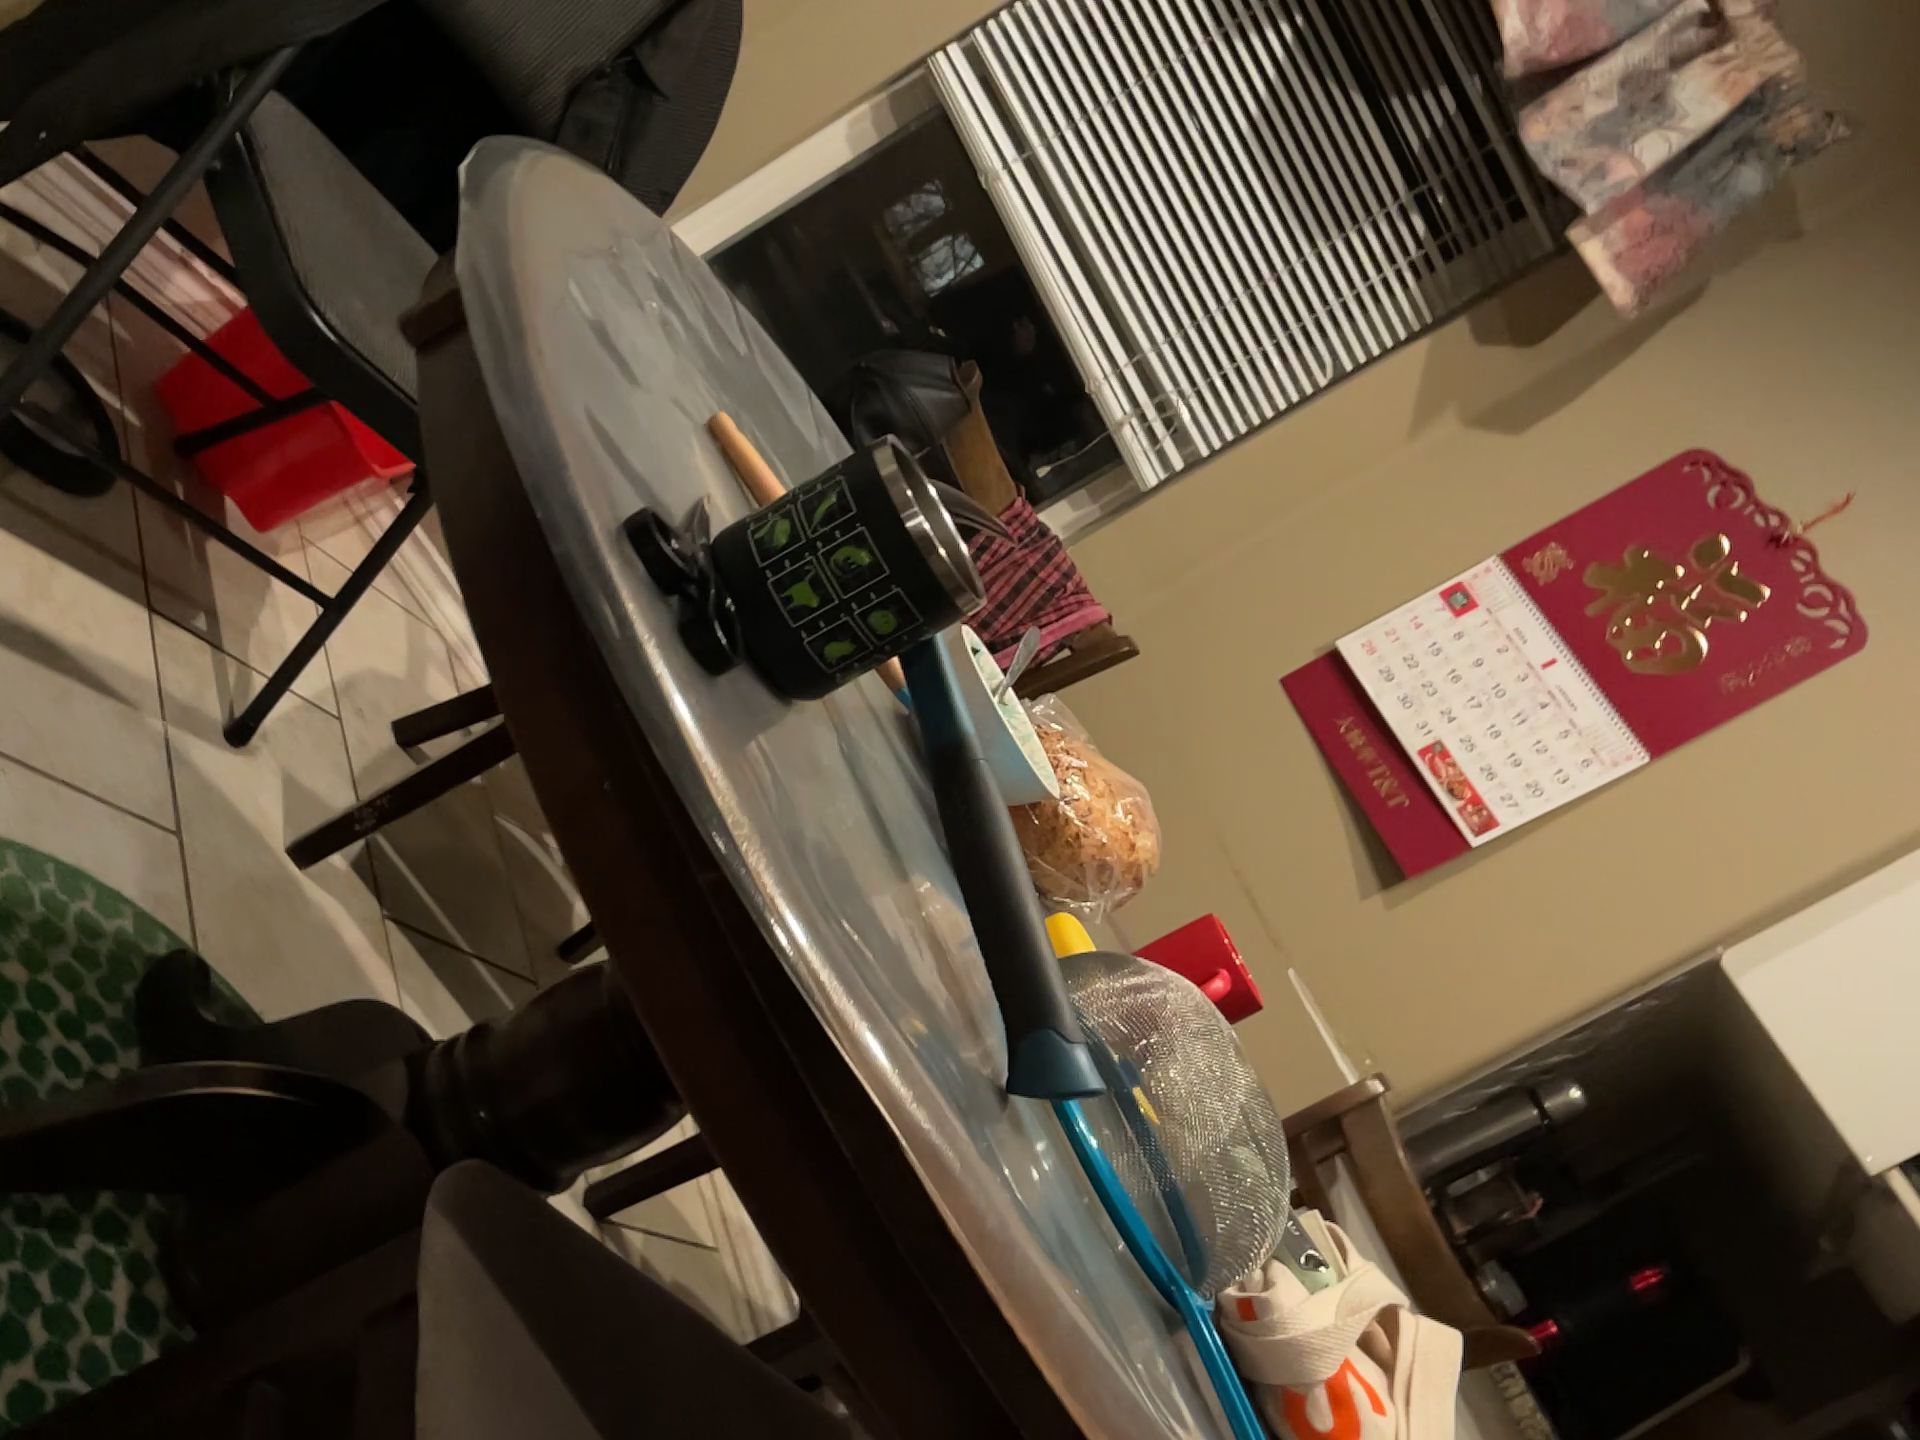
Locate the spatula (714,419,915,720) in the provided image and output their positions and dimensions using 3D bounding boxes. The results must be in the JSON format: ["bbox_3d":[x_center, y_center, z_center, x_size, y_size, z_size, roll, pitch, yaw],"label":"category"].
[{"bbox_3d":[-0.053,-0.029,0.903,0.317,0.044,0.082,56,9,-2],"label":"spatula"}]

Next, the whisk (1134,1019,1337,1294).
[{"bbox_3d":[0.176,0.278,1.032,0.246,0.058,0.059,-123,-150,-58],"label":"whisk"}]

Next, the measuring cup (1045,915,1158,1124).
[{"bbox_3d":[0.096,0.189,1.011,0.156,0.029,0.062,57,8,-12],"label":"measuring cup"}]

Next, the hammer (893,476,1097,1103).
[{"bbox_3d":[-0.004,0.027,0.776,0.033,0.128,0.331,37,33,-65],"label":"hammer"}]

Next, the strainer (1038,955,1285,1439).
[{"bbox_3d":[0.133,0.243,0.822,0.210,0.095,0.341,53,7,-41],"label":"strainer"}]
